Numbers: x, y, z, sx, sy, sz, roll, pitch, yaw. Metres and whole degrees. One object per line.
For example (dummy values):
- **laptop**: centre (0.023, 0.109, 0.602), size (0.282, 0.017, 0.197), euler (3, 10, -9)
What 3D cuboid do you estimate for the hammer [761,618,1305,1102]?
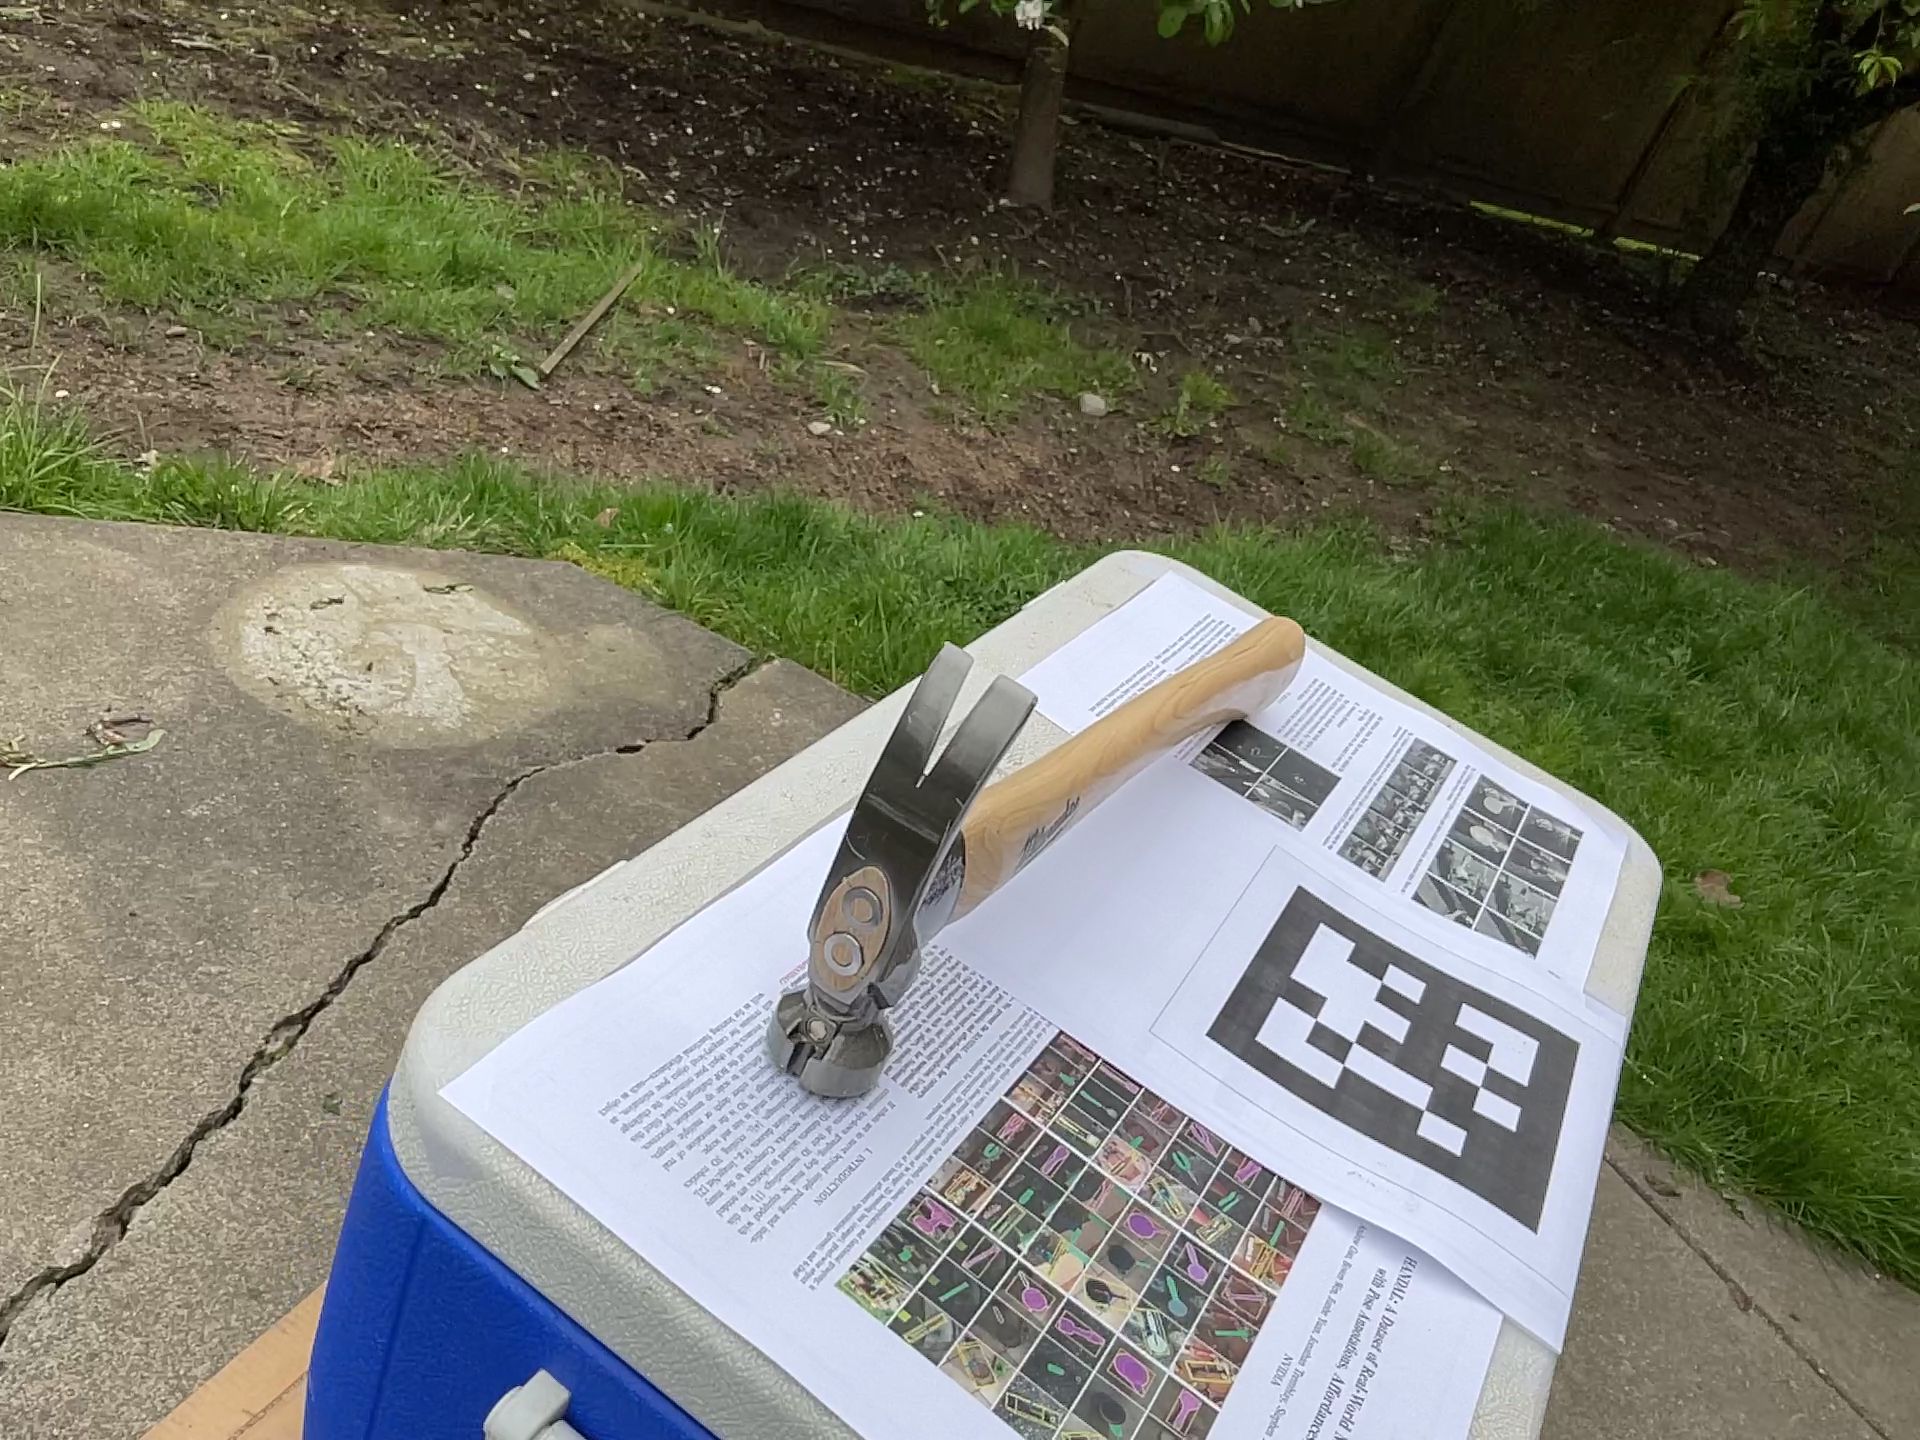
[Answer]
- **hammer**: centre (0.068, 0.003, 0.623), size (0.038, 0.146, 0.410), euler (33, 26, 17)
